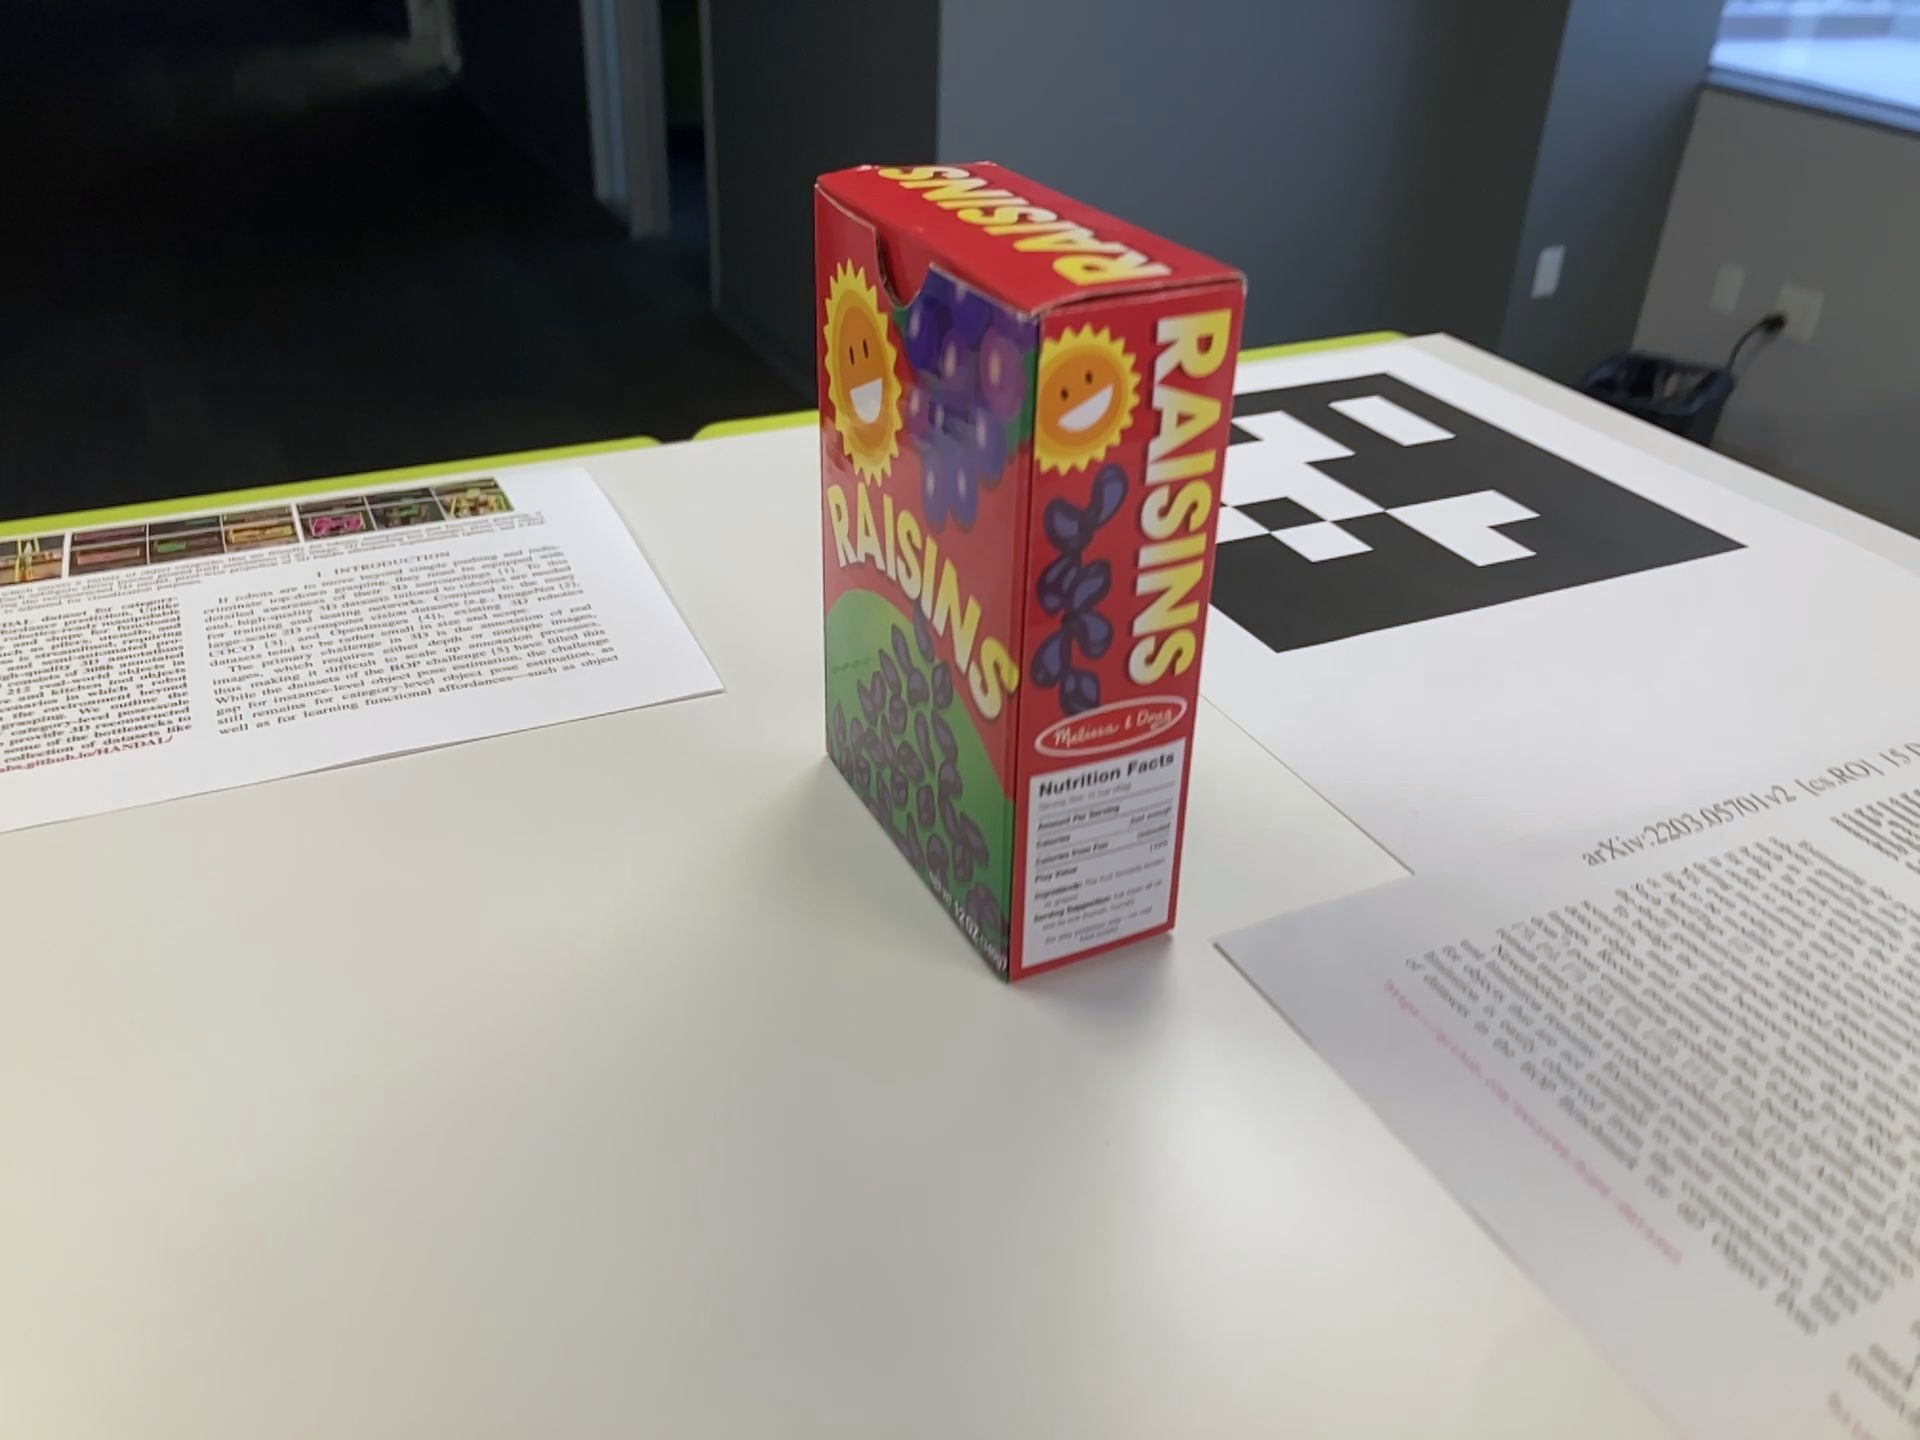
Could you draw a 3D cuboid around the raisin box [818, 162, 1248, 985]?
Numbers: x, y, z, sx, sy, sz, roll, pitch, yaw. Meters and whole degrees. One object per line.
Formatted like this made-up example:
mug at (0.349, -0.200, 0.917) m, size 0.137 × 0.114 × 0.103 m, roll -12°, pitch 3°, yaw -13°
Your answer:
raisin box at (0.007, -0.029, 0.287) m, size 0.040 × 0.123 × 0.086 m, roll -12°, pitch 33°, yaw -22°
